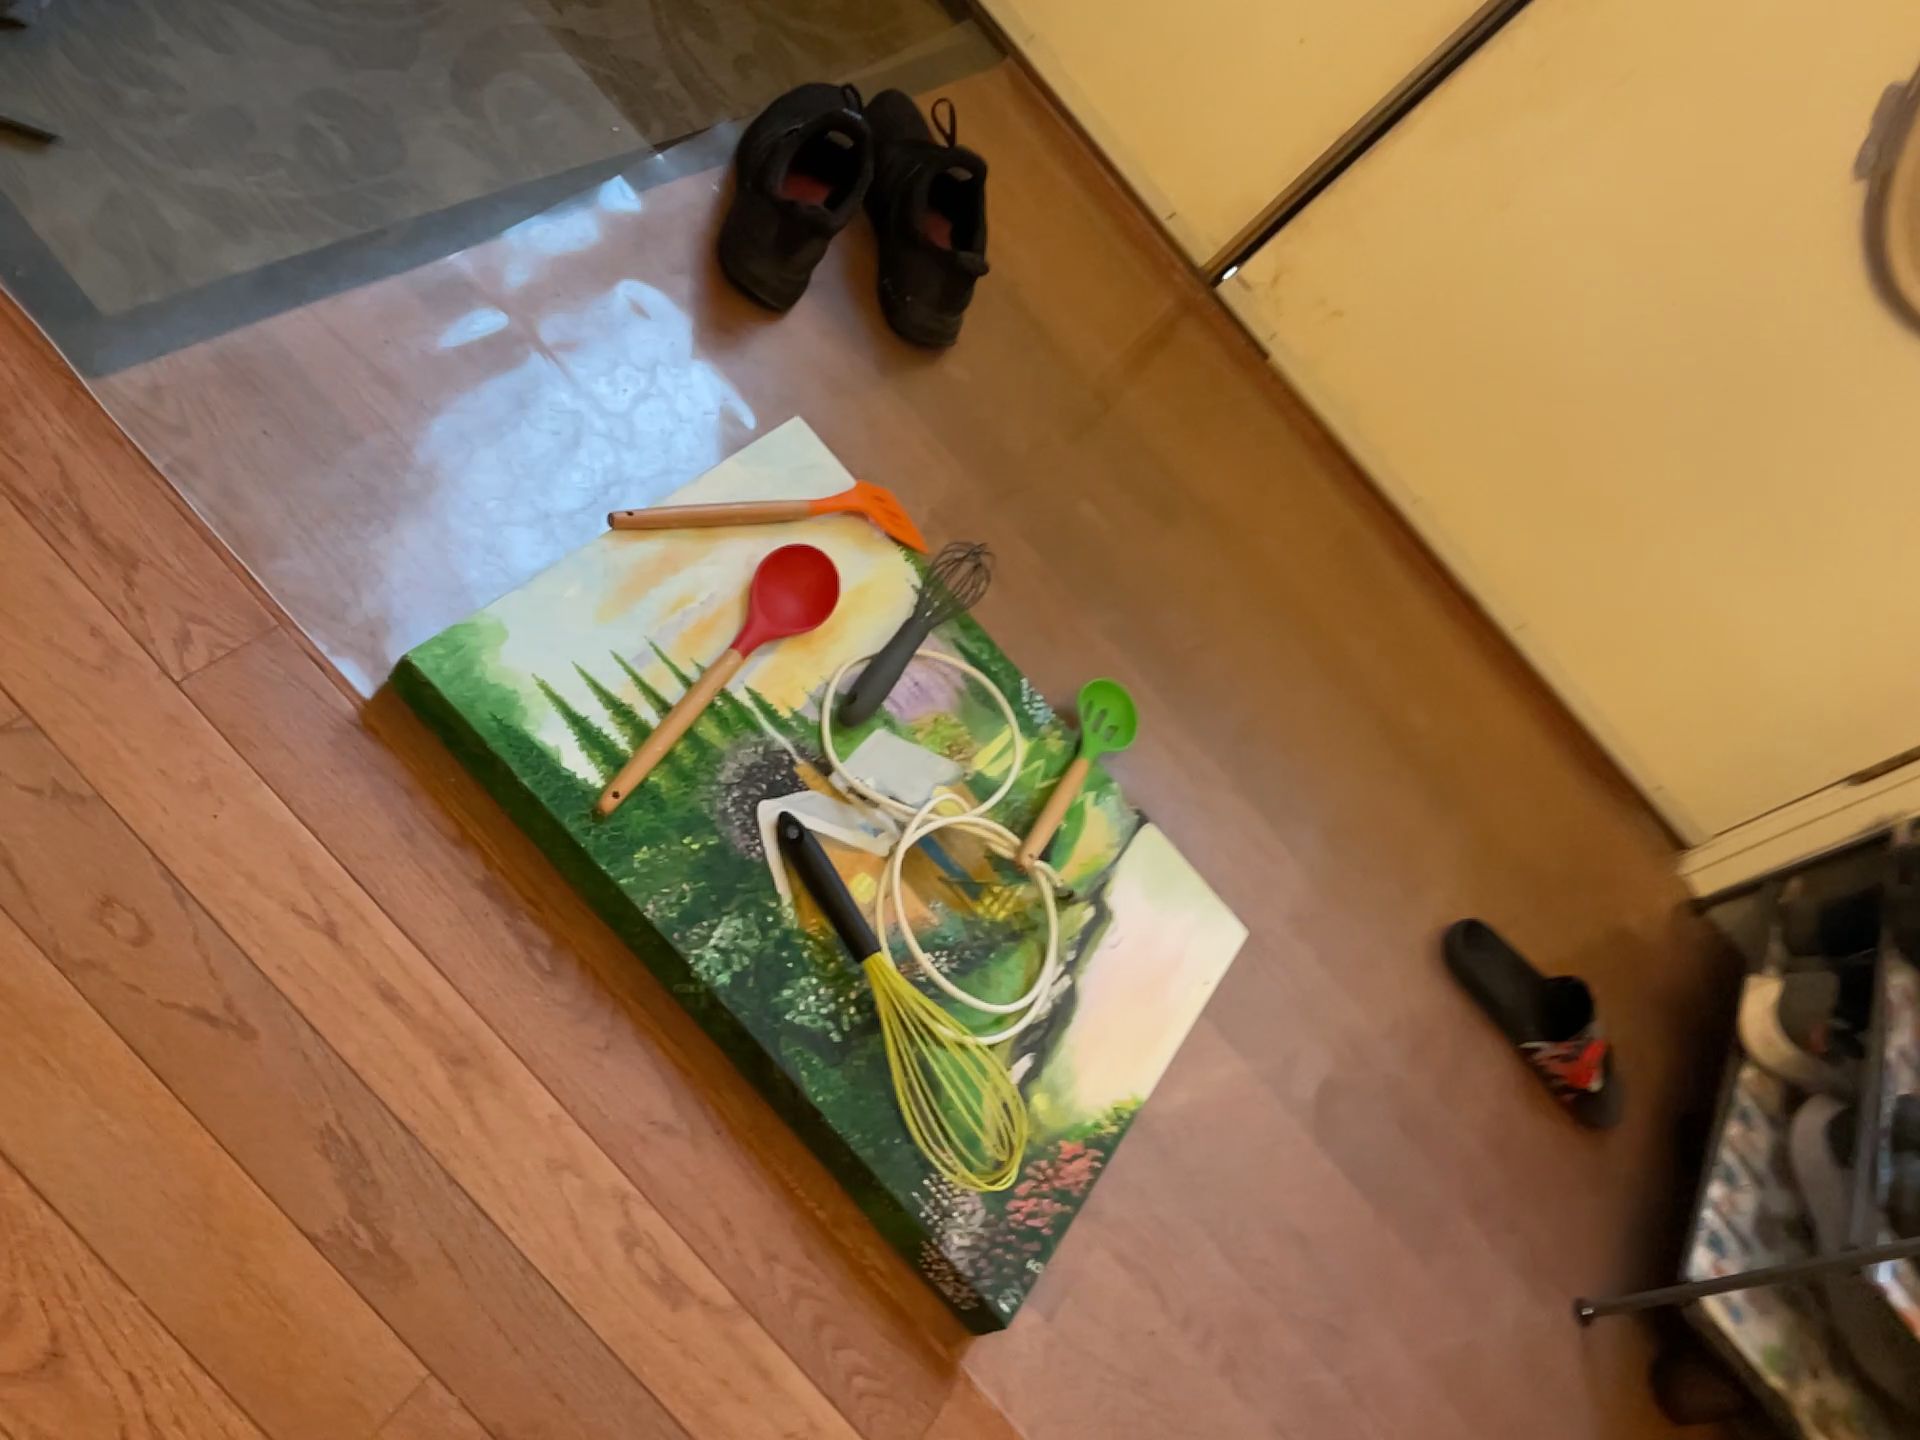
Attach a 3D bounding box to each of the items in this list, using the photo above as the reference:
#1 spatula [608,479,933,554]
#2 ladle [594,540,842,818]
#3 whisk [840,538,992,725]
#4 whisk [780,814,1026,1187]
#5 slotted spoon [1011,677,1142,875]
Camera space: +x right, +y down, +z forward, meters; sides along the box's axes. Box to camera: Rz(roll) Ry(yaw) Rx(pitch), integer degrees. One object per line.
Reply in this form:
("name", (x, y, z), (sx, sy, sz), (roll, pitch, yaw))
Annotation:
("spatula", (-0.149, -0.168, 1.316), (0.322, 0.041, 0.081), (-11, 60, -41))
("ladle", (-0.181, -0.034, 1.193), (0.069, 0.031, 0.316), (42, 48, -9))
("whisk", (-0.035, -0.076, 1.326), (0.055, 0.055, 0.239), (36, 52, -2))
("whisk", (-0.049, 0.199, 1.141), (0.080, 0.067, 0.312), (-18, 70, -50))
("slotted spoon", (0.097, 0.047, 1.362), (0.070, 0.031, 0.314), (47, 32, -6))
